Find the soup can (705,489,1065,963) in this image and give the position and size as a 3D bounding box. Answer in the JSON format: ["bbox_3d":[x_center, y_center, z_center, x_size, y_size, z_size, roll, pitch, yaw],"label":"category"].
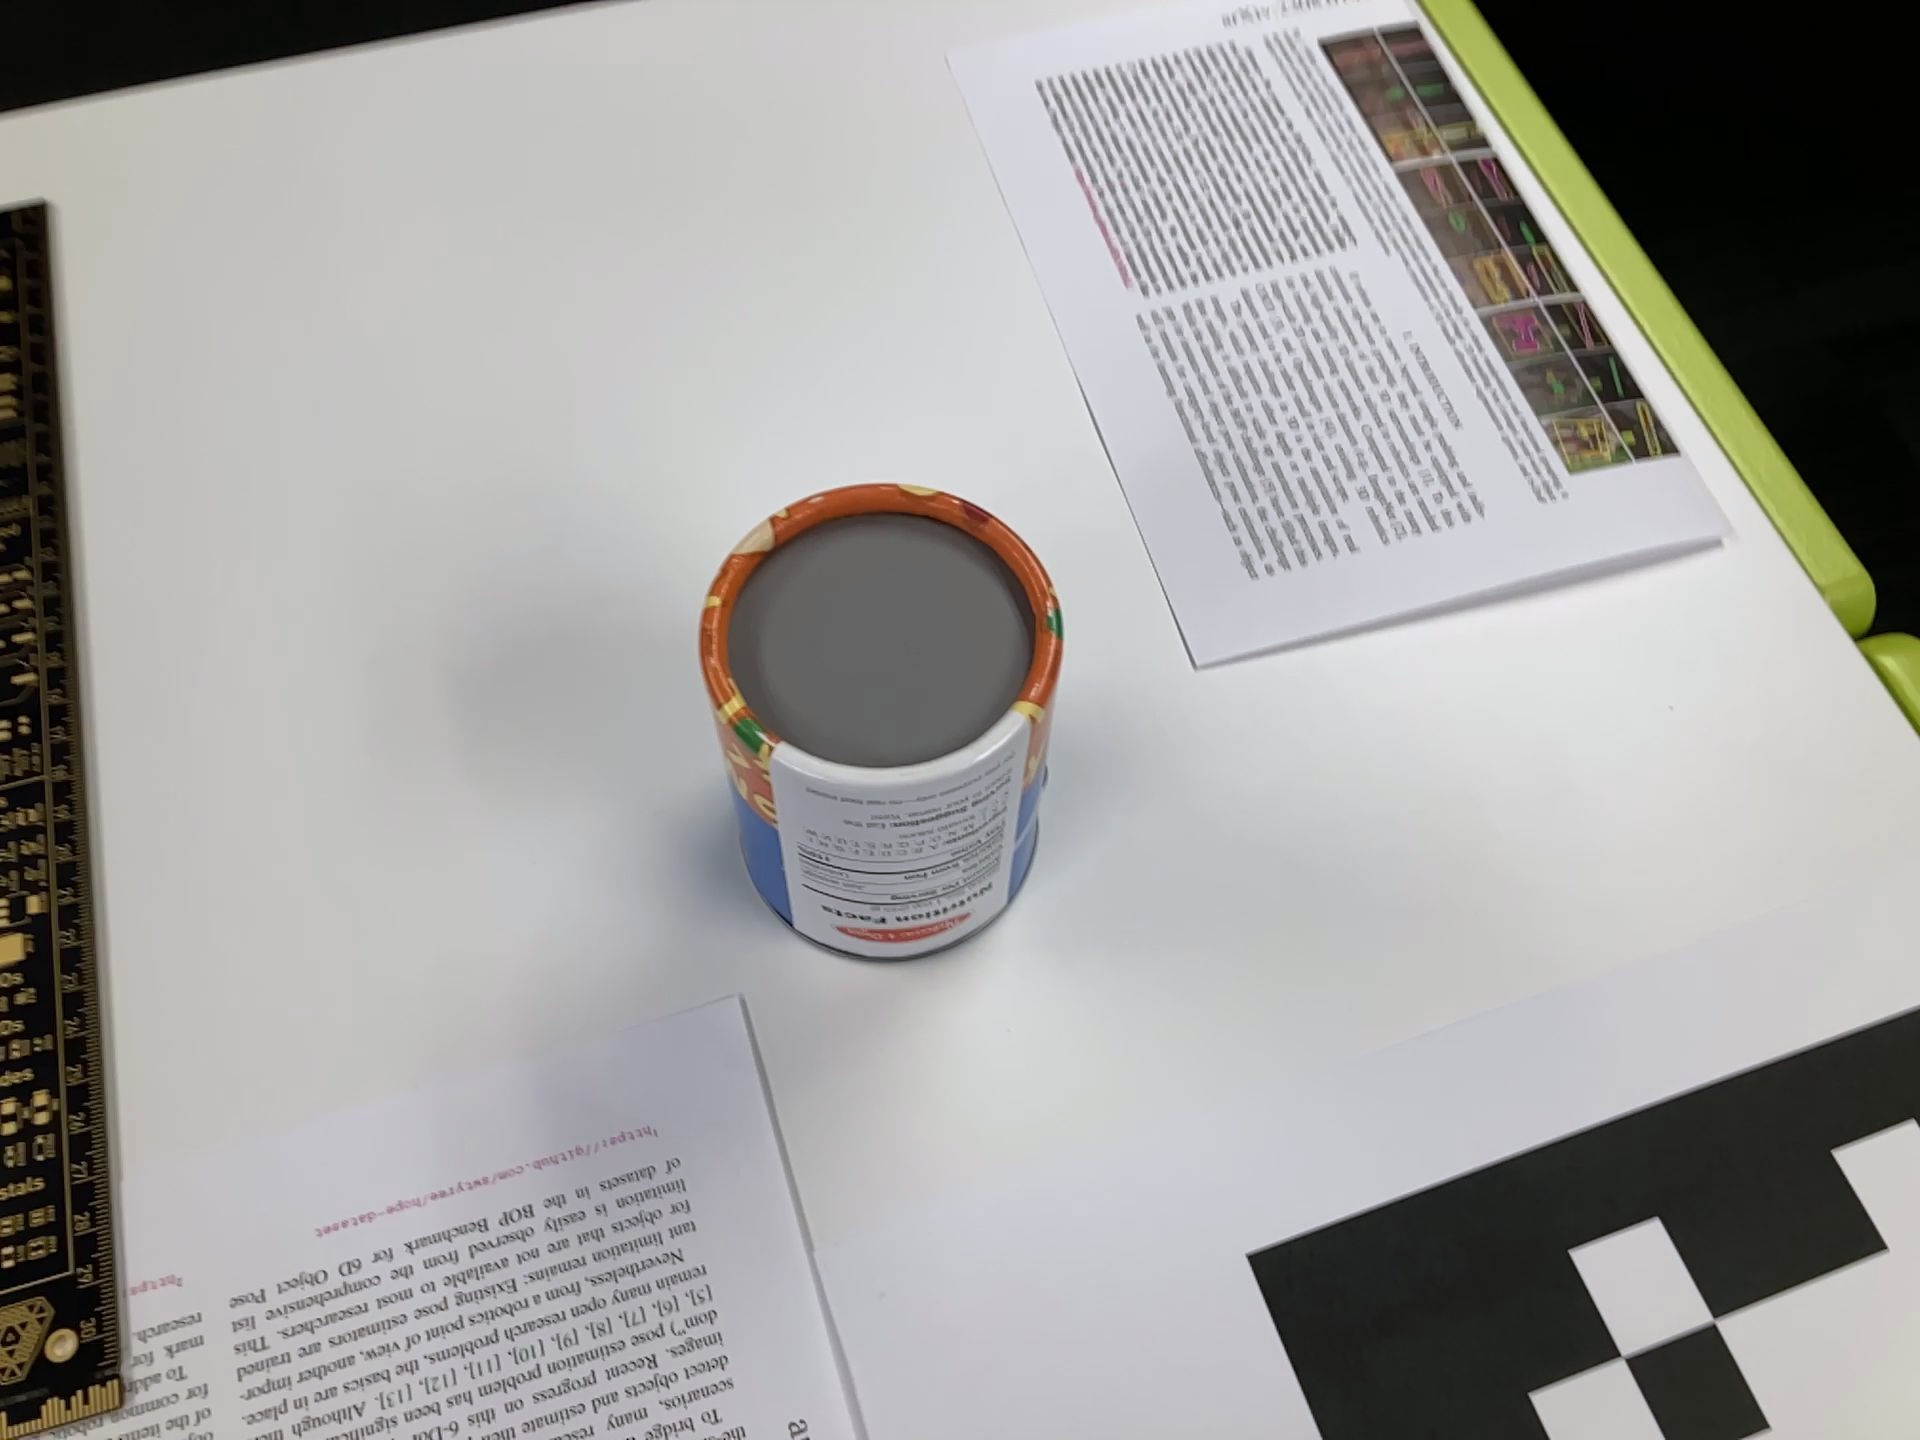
[{"bbox_3d":[-0.015,0.001,0.322,0.071,0.084,0.071,1,61,-2],"label":"soup can"}]
